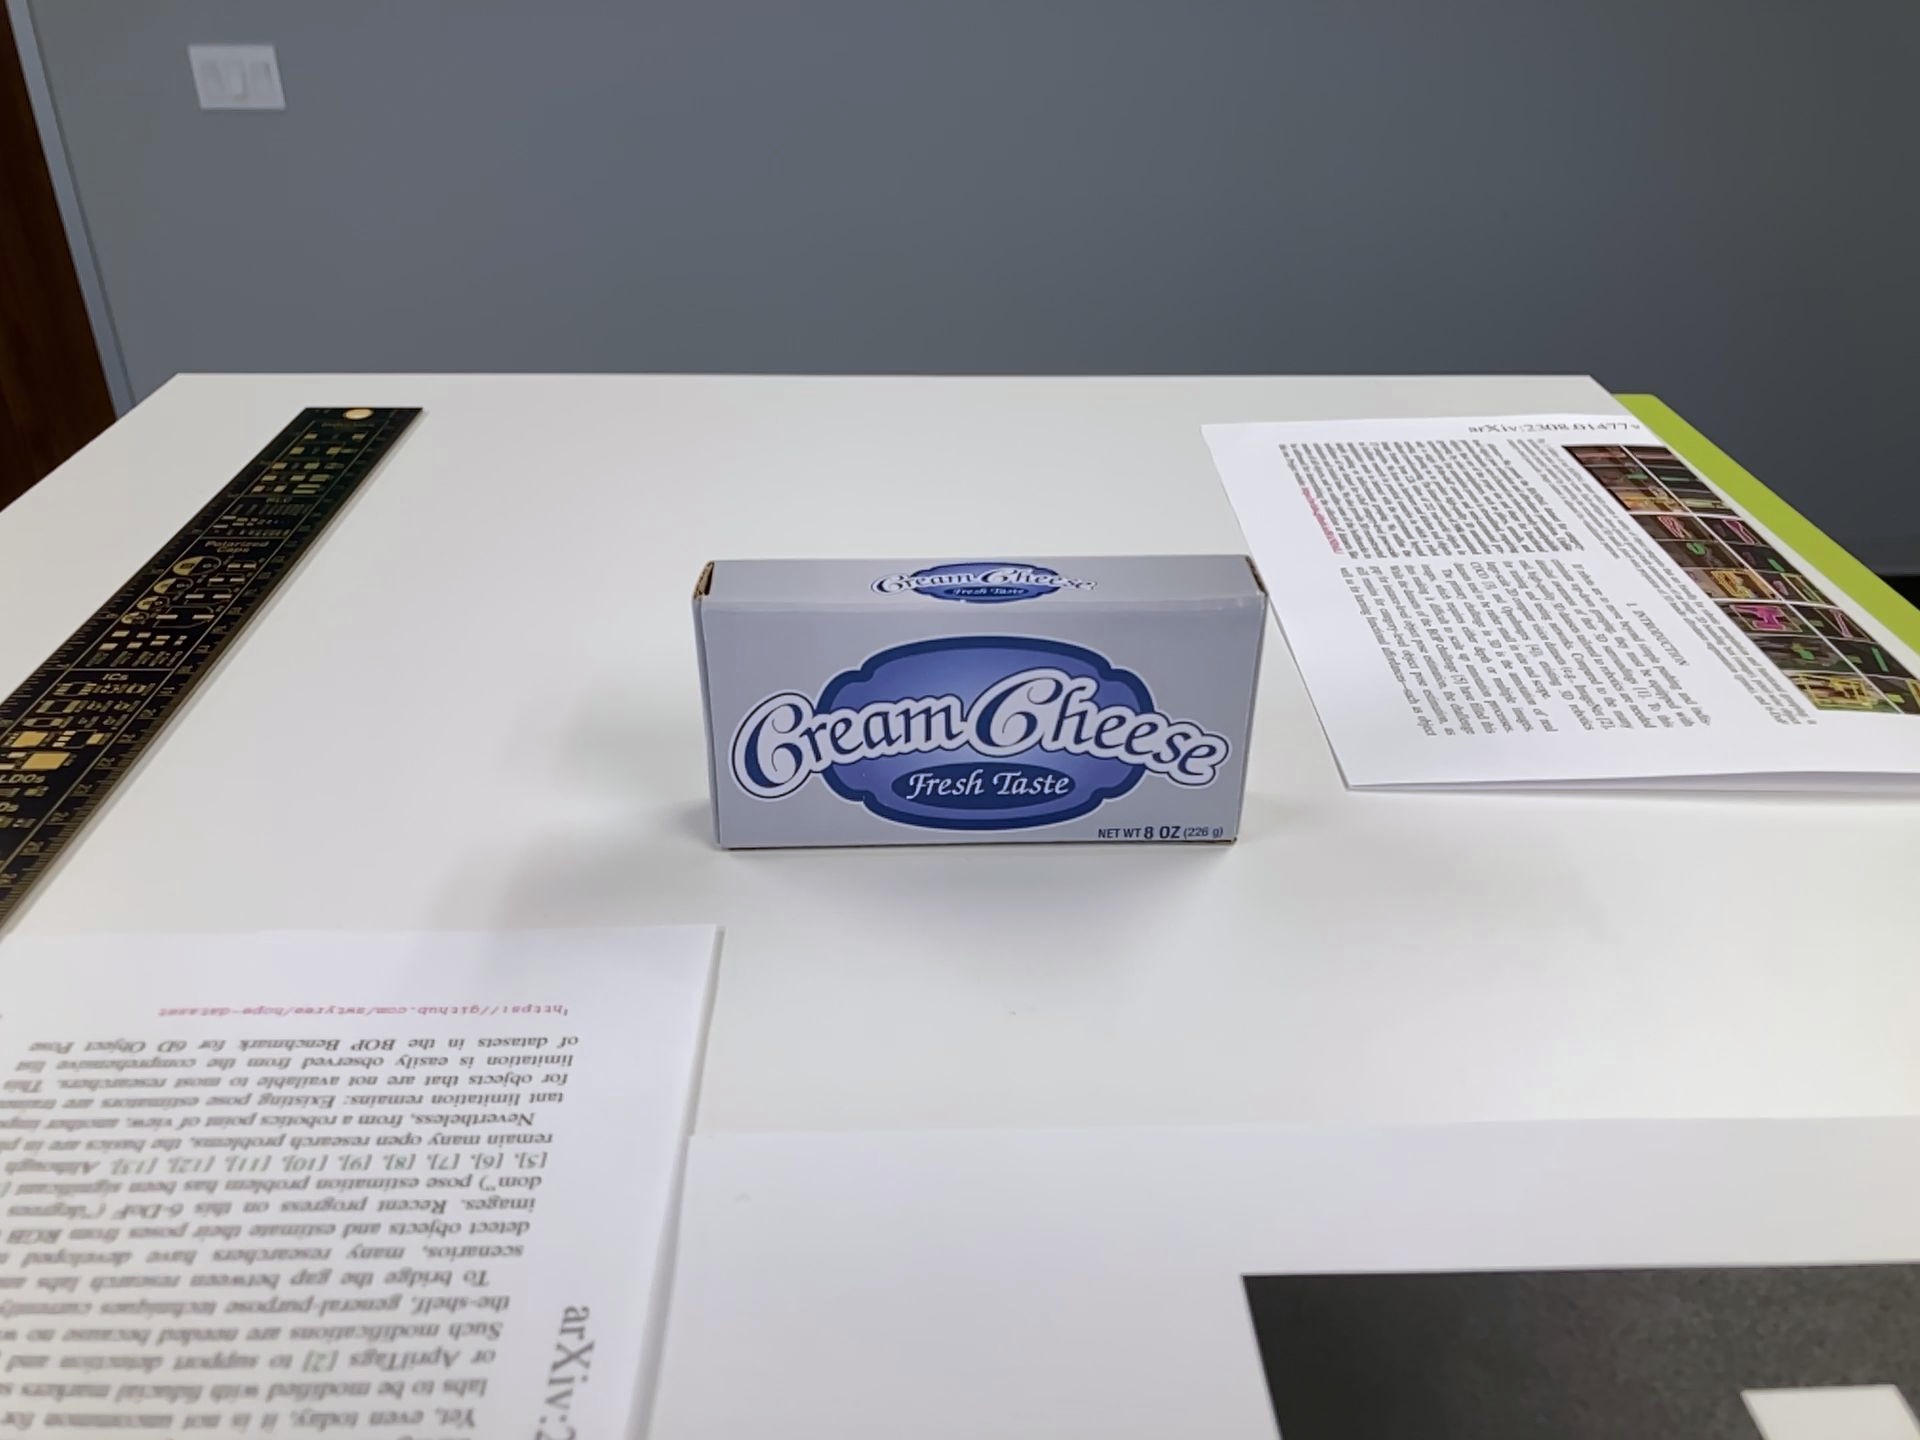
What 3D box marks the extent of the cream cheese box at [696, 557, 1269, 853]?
[{"bbox_3d":[0.004,-0.003,0.305,0.104,0.053,0.024,0,28,-2],"label":"cream cheese box"}]
